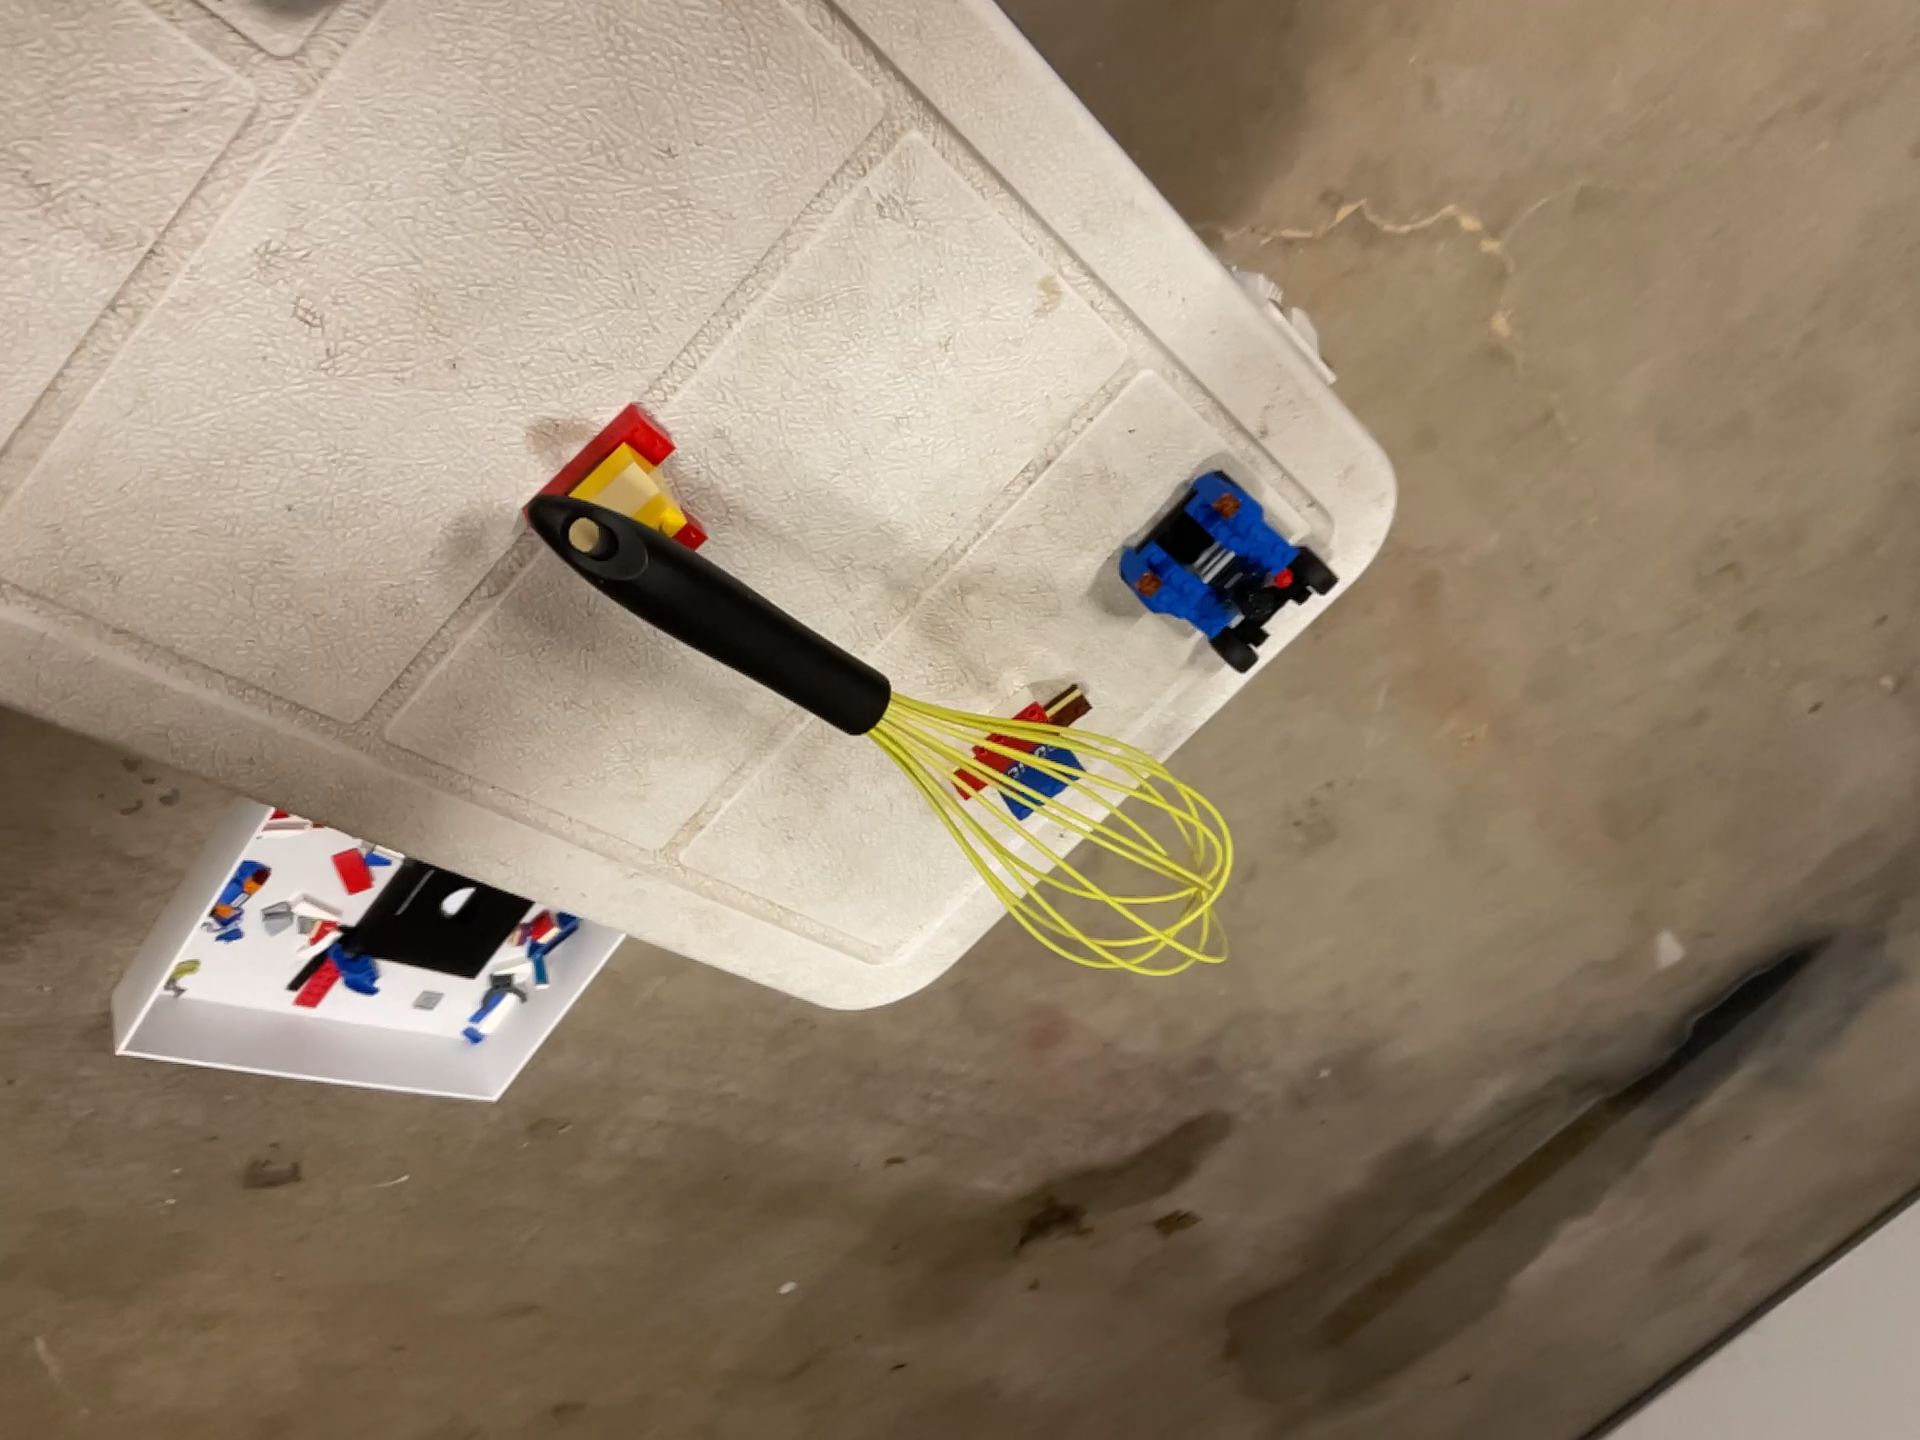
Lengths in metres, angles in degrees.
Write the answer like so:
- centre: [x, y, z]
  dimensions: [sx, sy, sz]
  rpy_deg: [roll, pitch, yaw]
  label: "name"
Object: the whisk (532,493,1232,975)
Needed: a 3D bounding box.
- centre: [-0.011, 0.008, 0.527]
  dimensions: [0.311, 0.067, 0.080]
  rpy_deg: [32, 62, -36]
  label: "whisk"
